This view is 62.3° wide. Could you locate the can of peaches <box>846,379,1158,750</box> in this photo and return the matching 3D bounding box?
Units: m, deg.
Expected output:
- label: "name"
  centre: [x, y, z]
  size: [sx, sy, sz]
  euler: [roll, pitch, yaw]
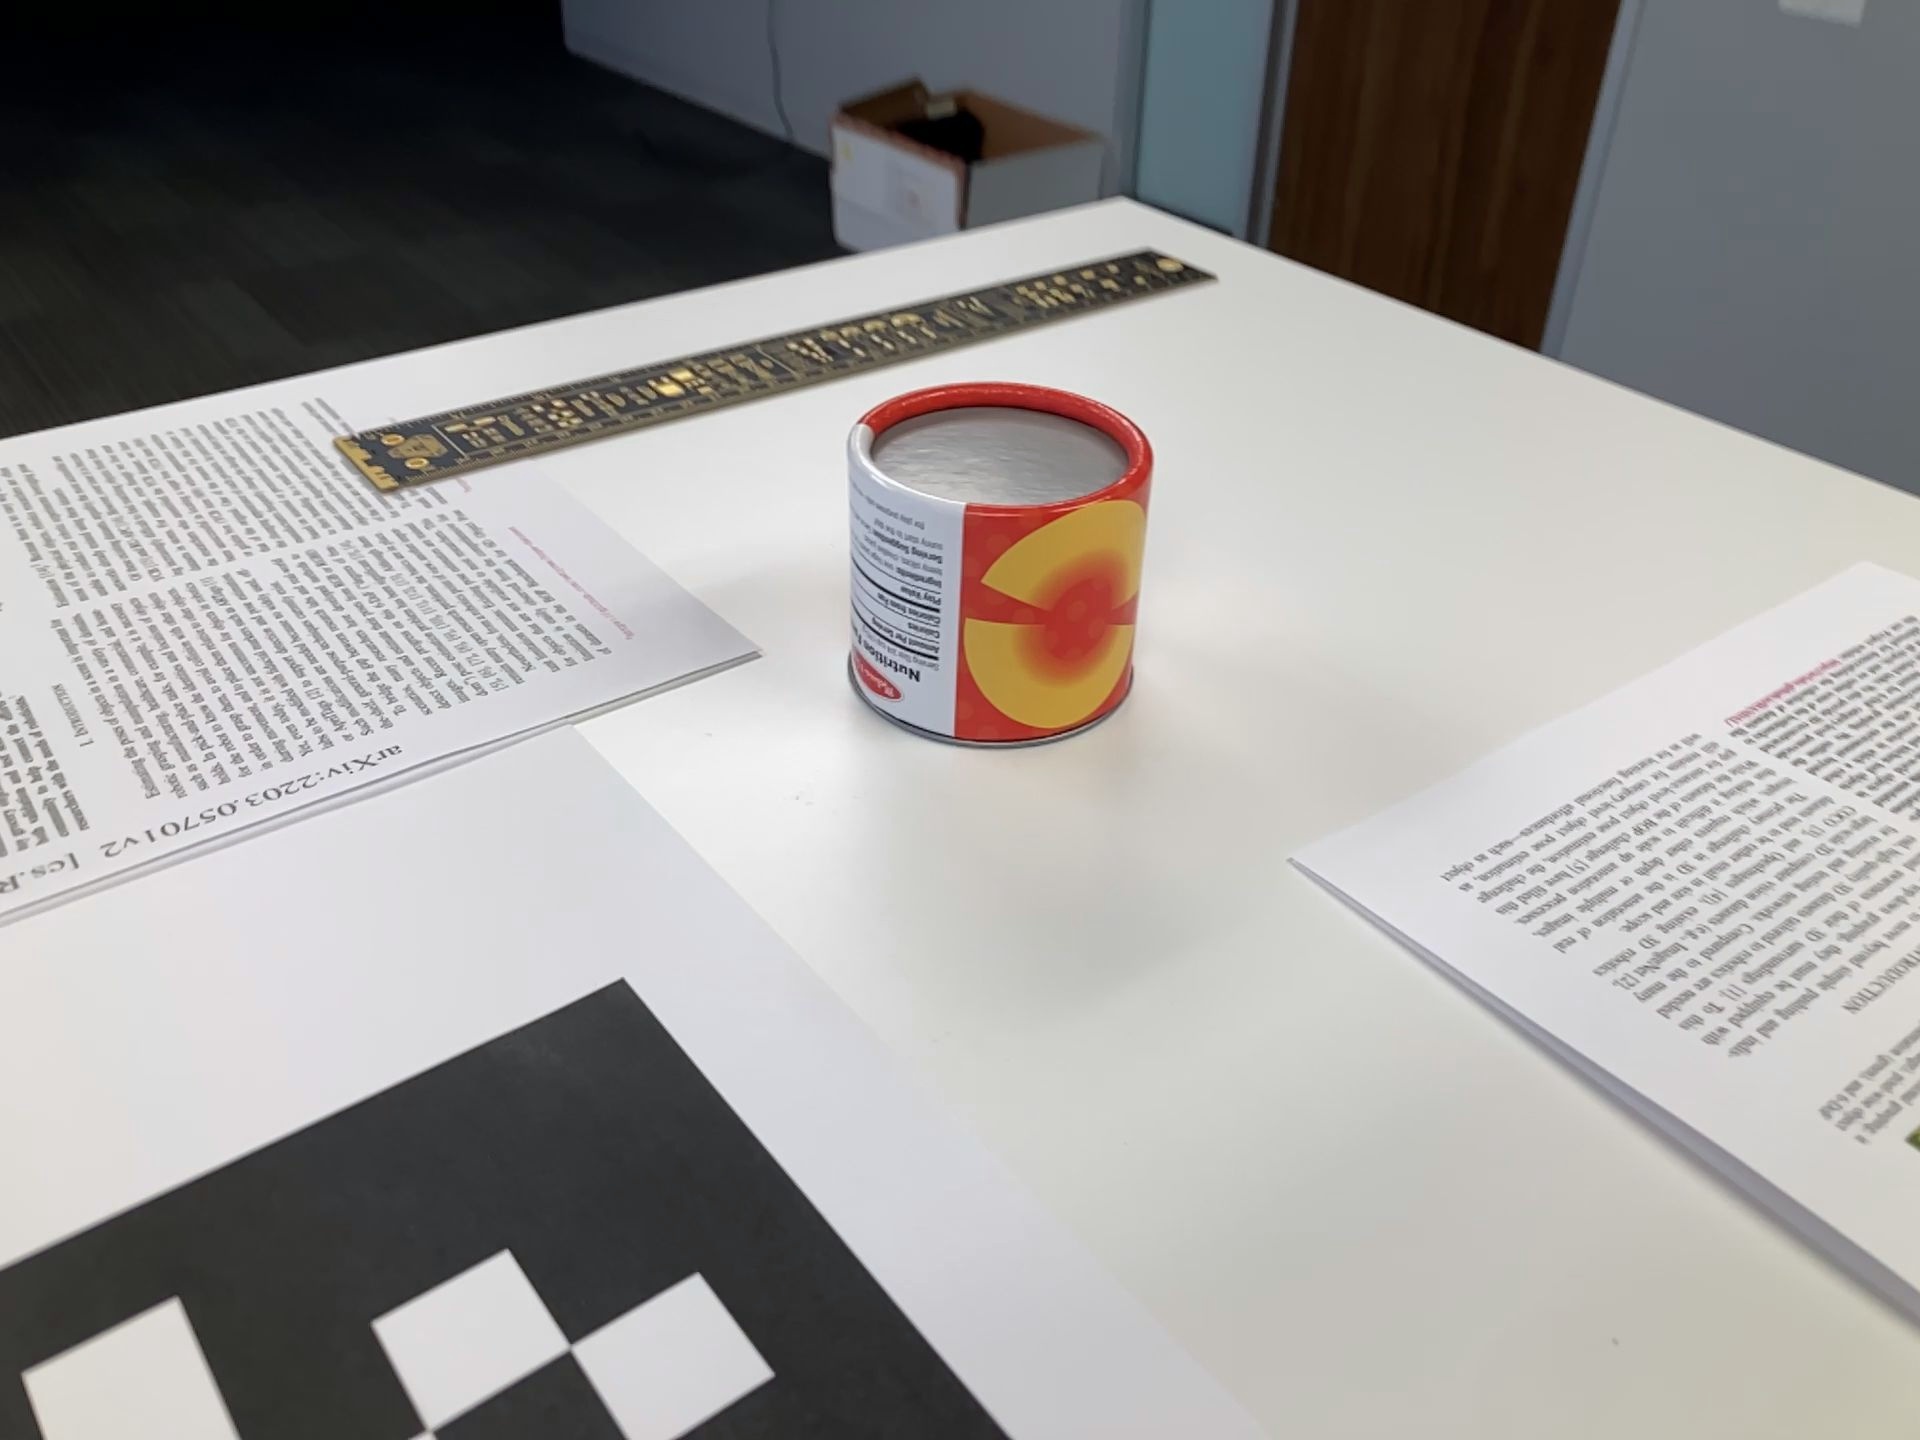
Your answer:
- label: "can of peaches"
  centre: [0.010, -0.036, 0.349]
  size: [0.071, 0.058, 0.071]
  euler: [1, 34, 0]
